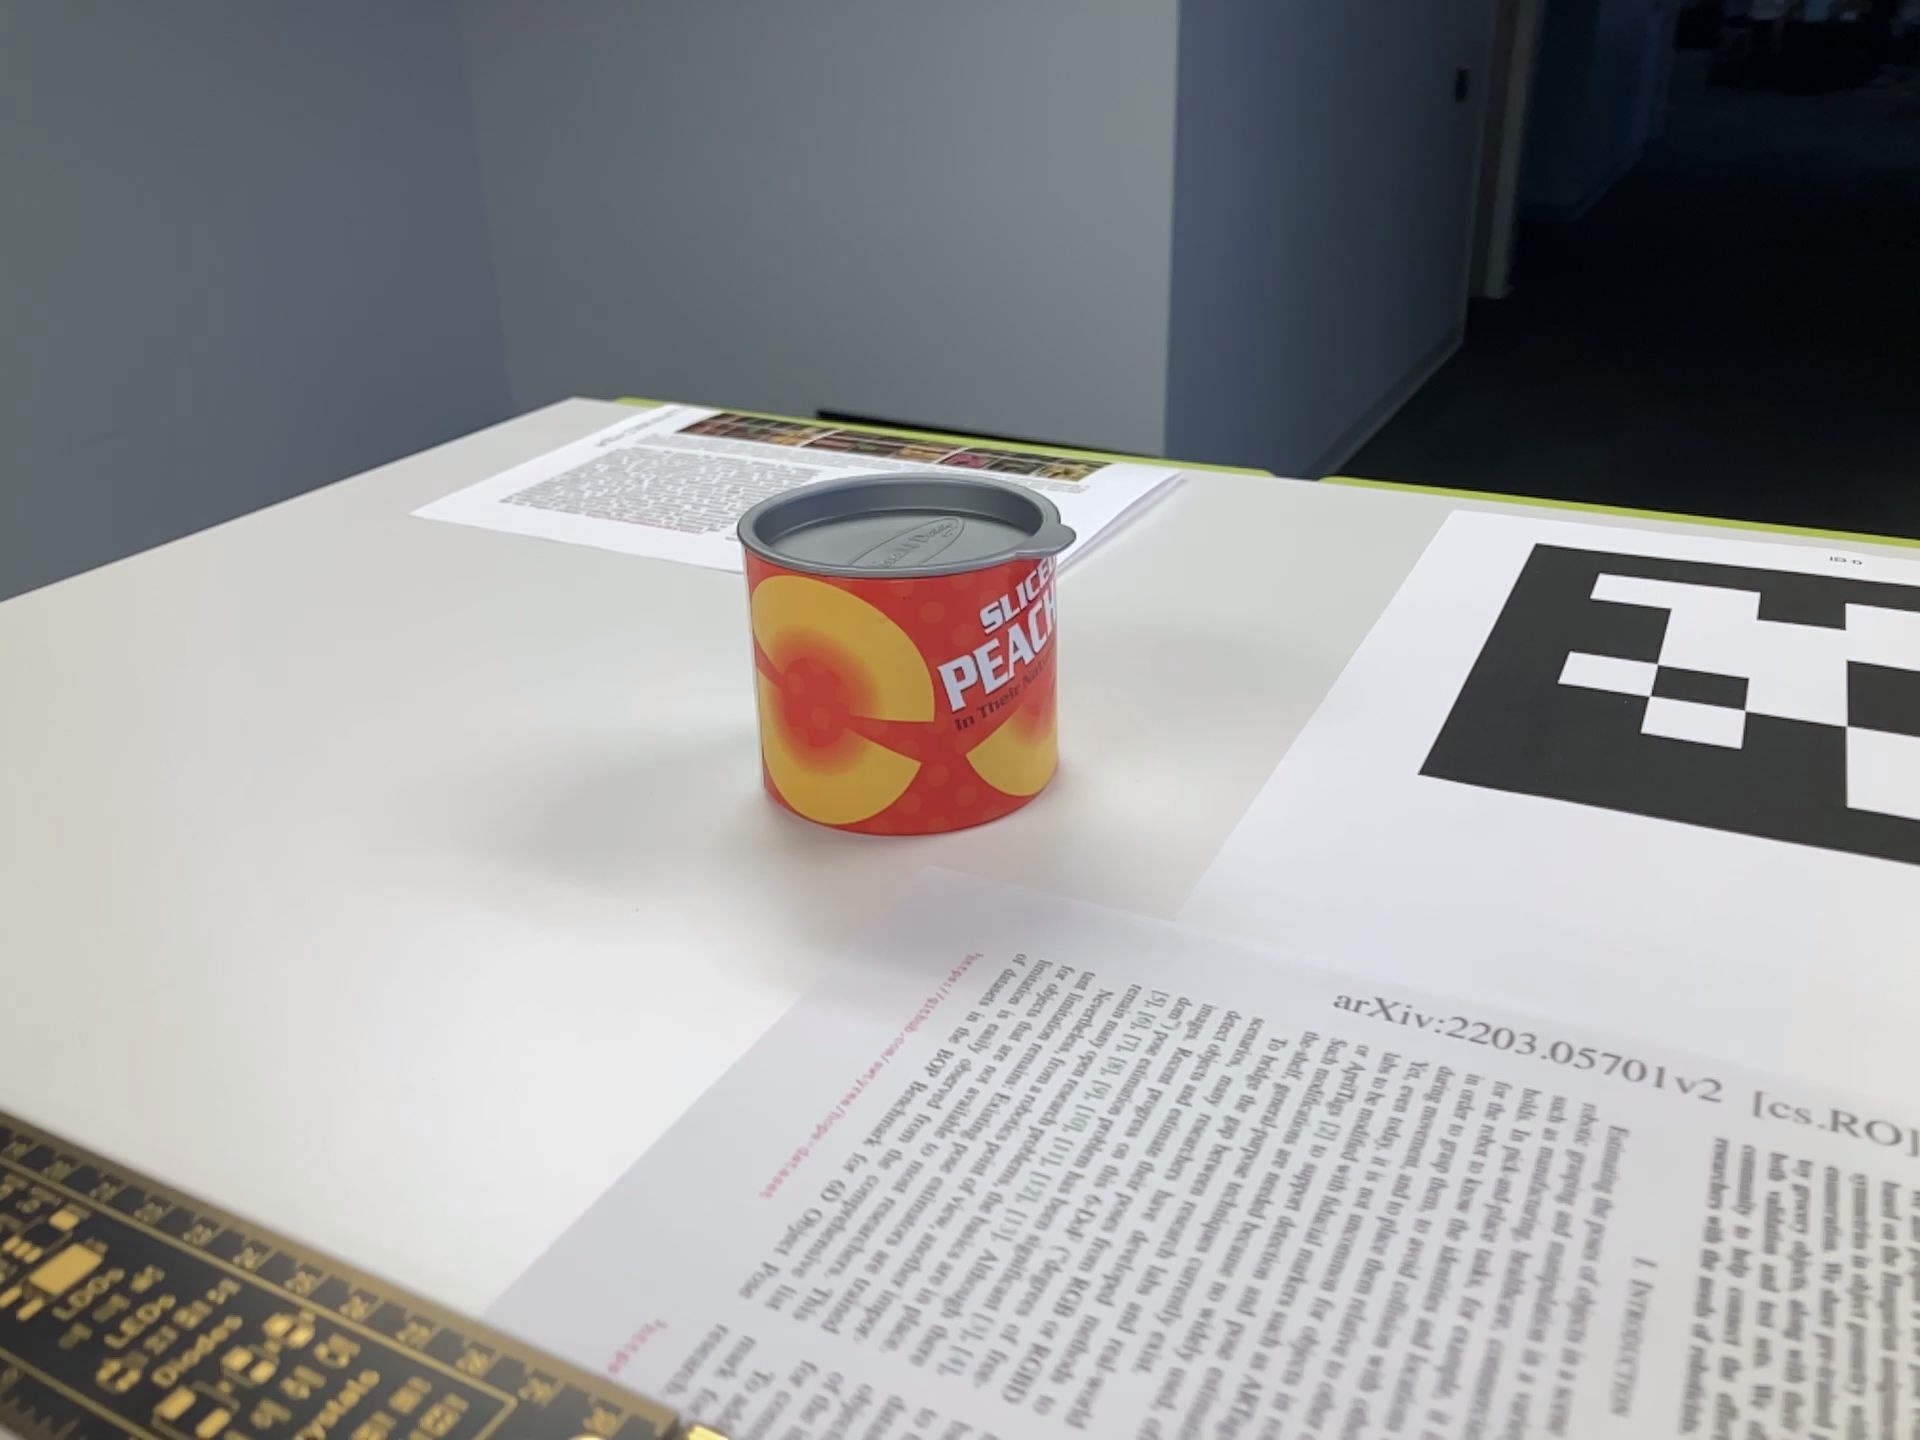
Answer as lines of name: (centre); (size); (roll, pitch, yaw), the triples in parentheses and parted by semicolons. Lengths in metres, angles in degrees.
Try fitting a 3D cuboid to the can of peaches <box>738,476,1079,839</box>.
can of peaches: (-0.010, -0.015, 0.336); (0.071, 0.058, 0.071); (-1, 25, 0)
